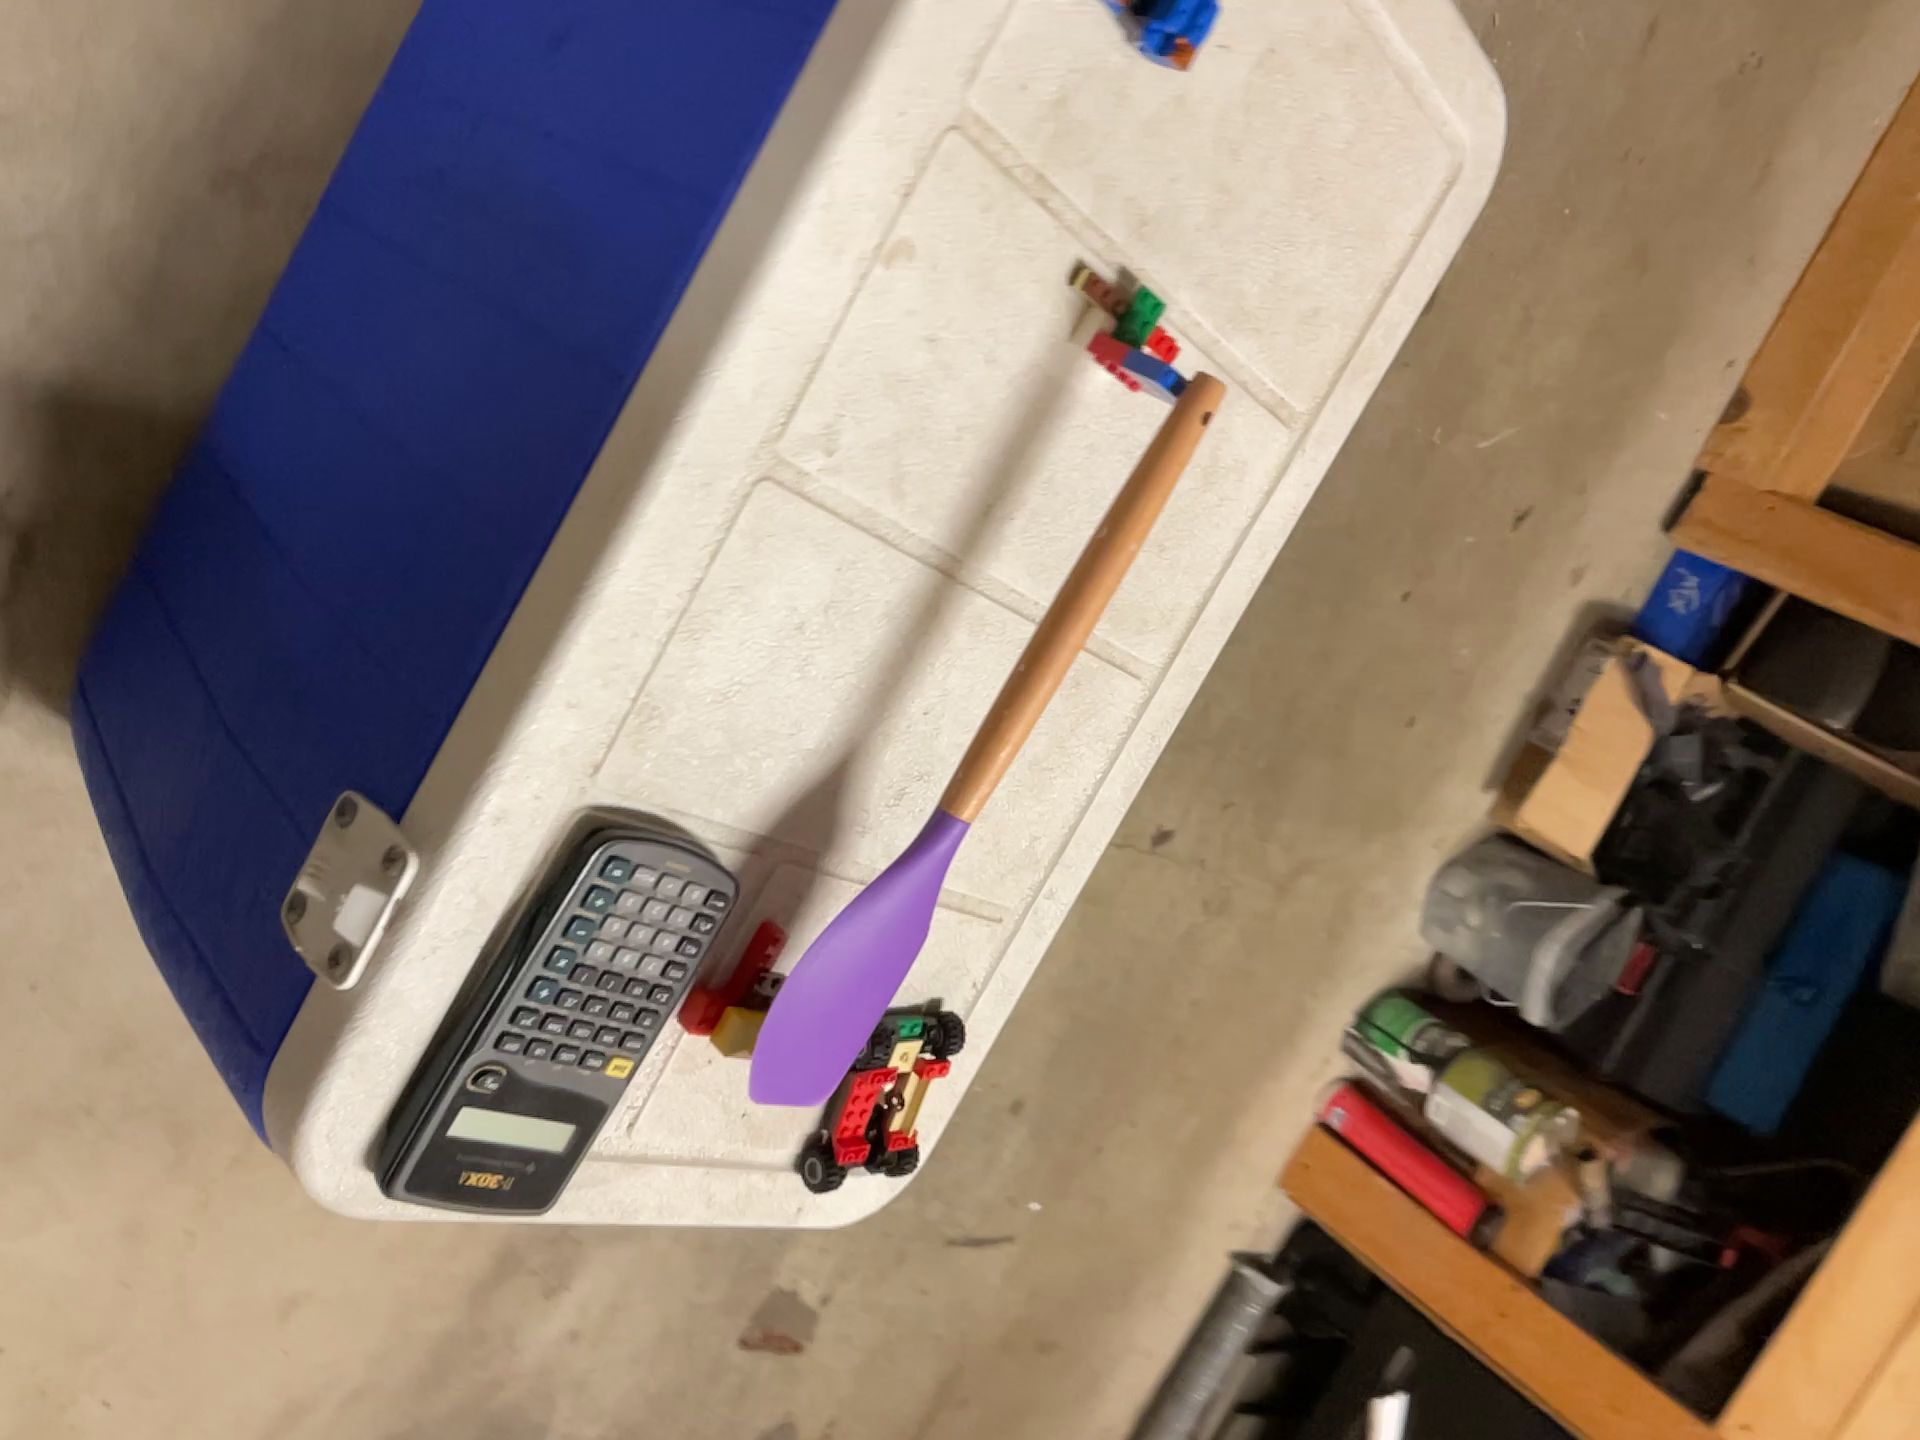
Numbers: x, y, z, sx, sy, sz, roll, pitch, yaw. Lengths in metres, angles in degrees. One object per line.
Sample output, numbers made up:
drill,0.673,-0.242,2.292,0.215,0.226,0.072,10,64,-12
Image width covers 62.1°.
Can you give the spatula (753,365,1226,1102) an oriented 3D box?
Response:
spatula,0.010,0.010,0.591,0.060,0.018,0.316,23,100,-50
